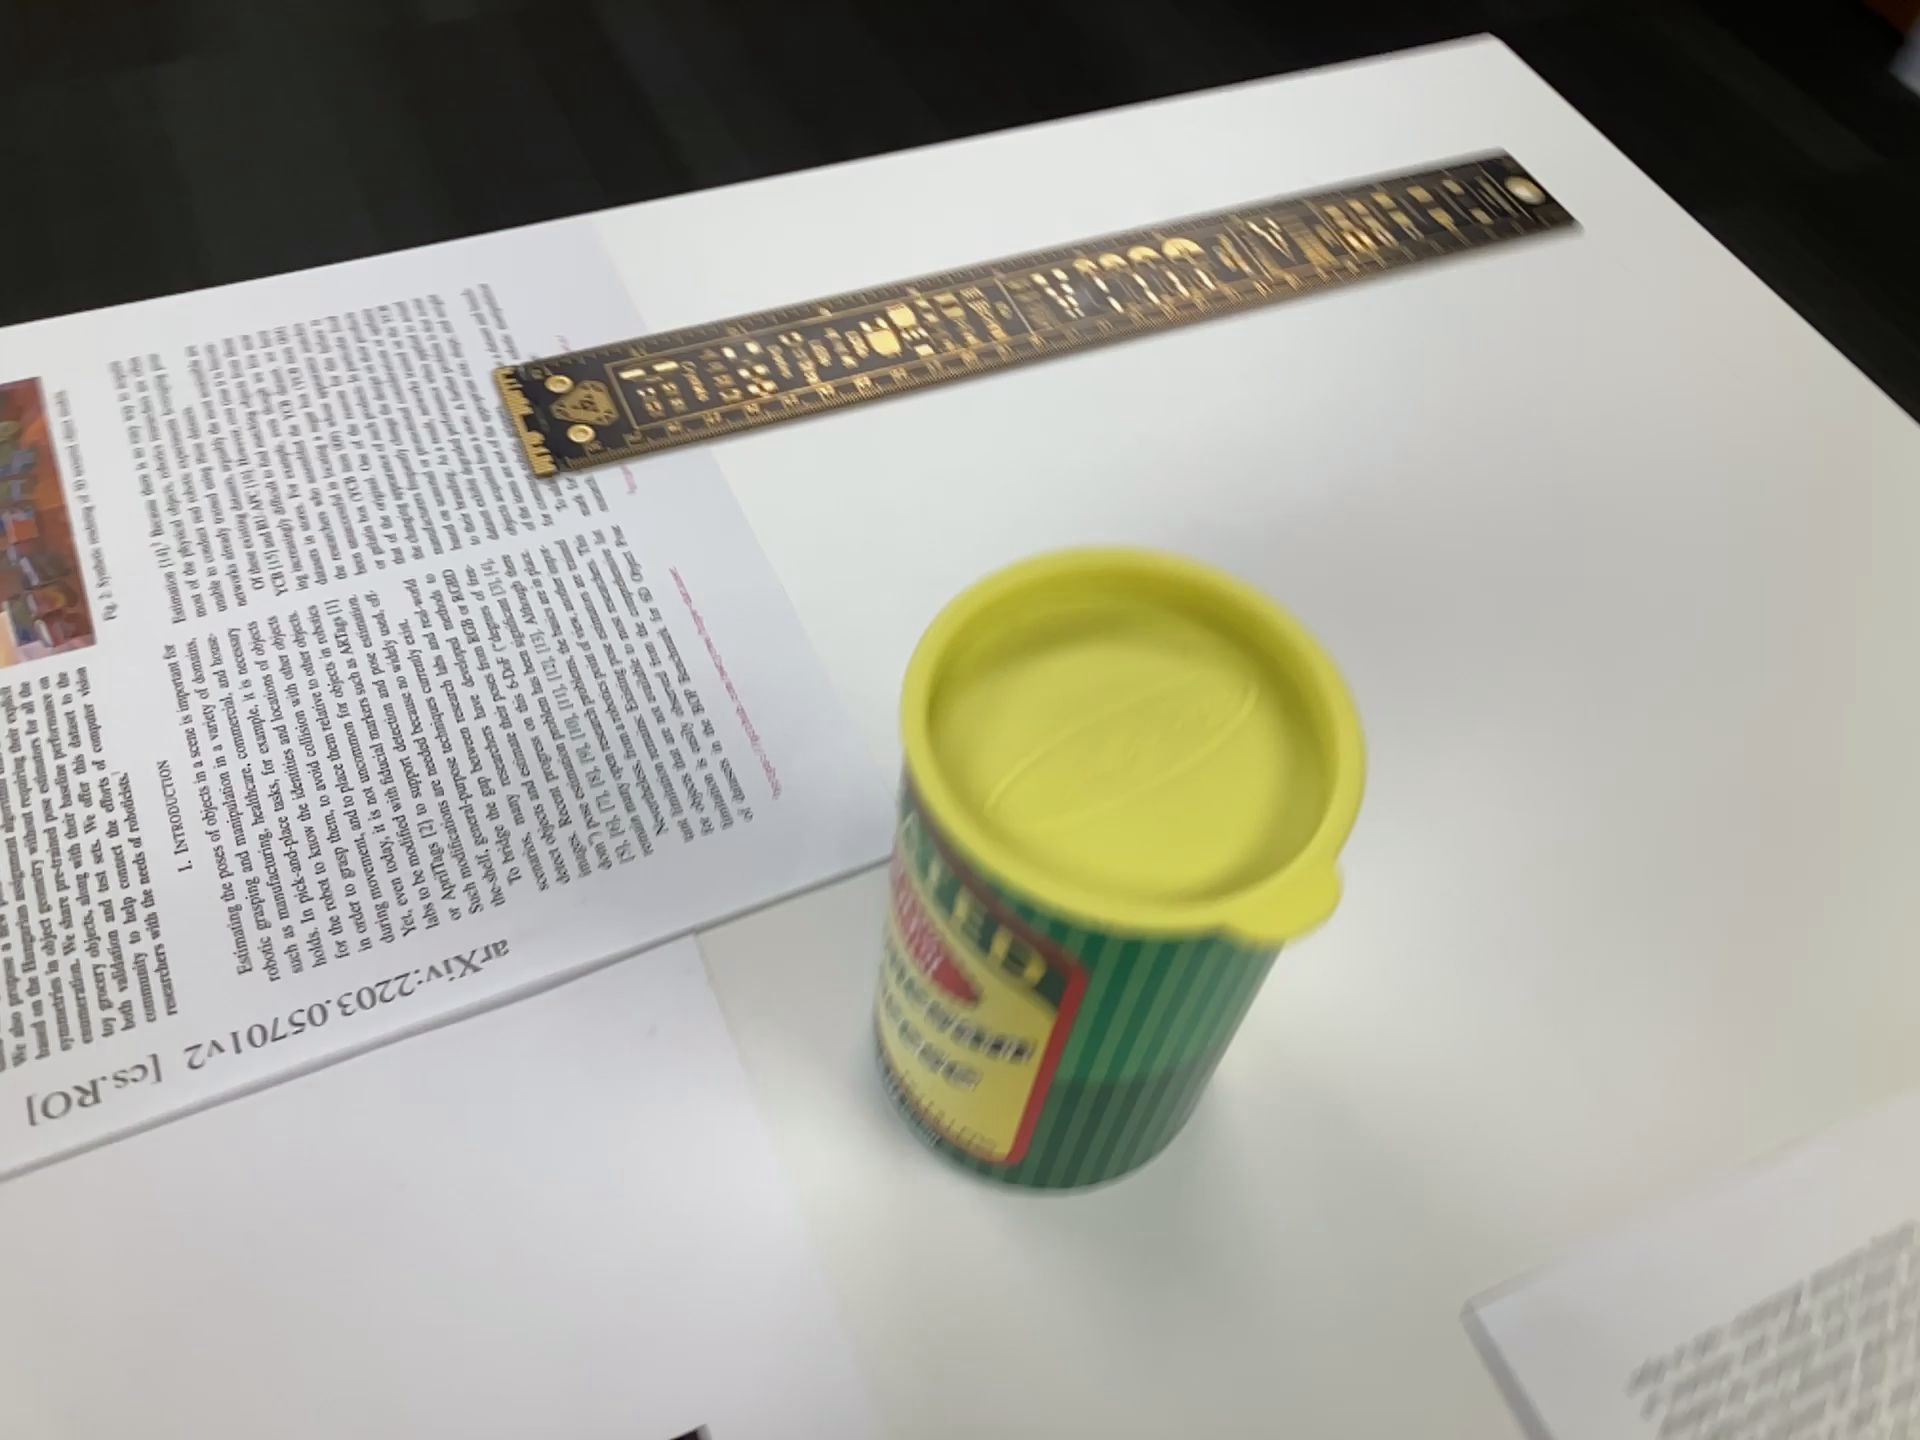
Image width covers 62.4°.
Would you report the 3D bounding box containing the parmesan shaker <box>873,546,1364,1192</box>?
[{"bbox_3d":[0.021,0.032,0.263,0.071,0.103,0.071,3,54,-4],"label":"parmesan shaker"}]
